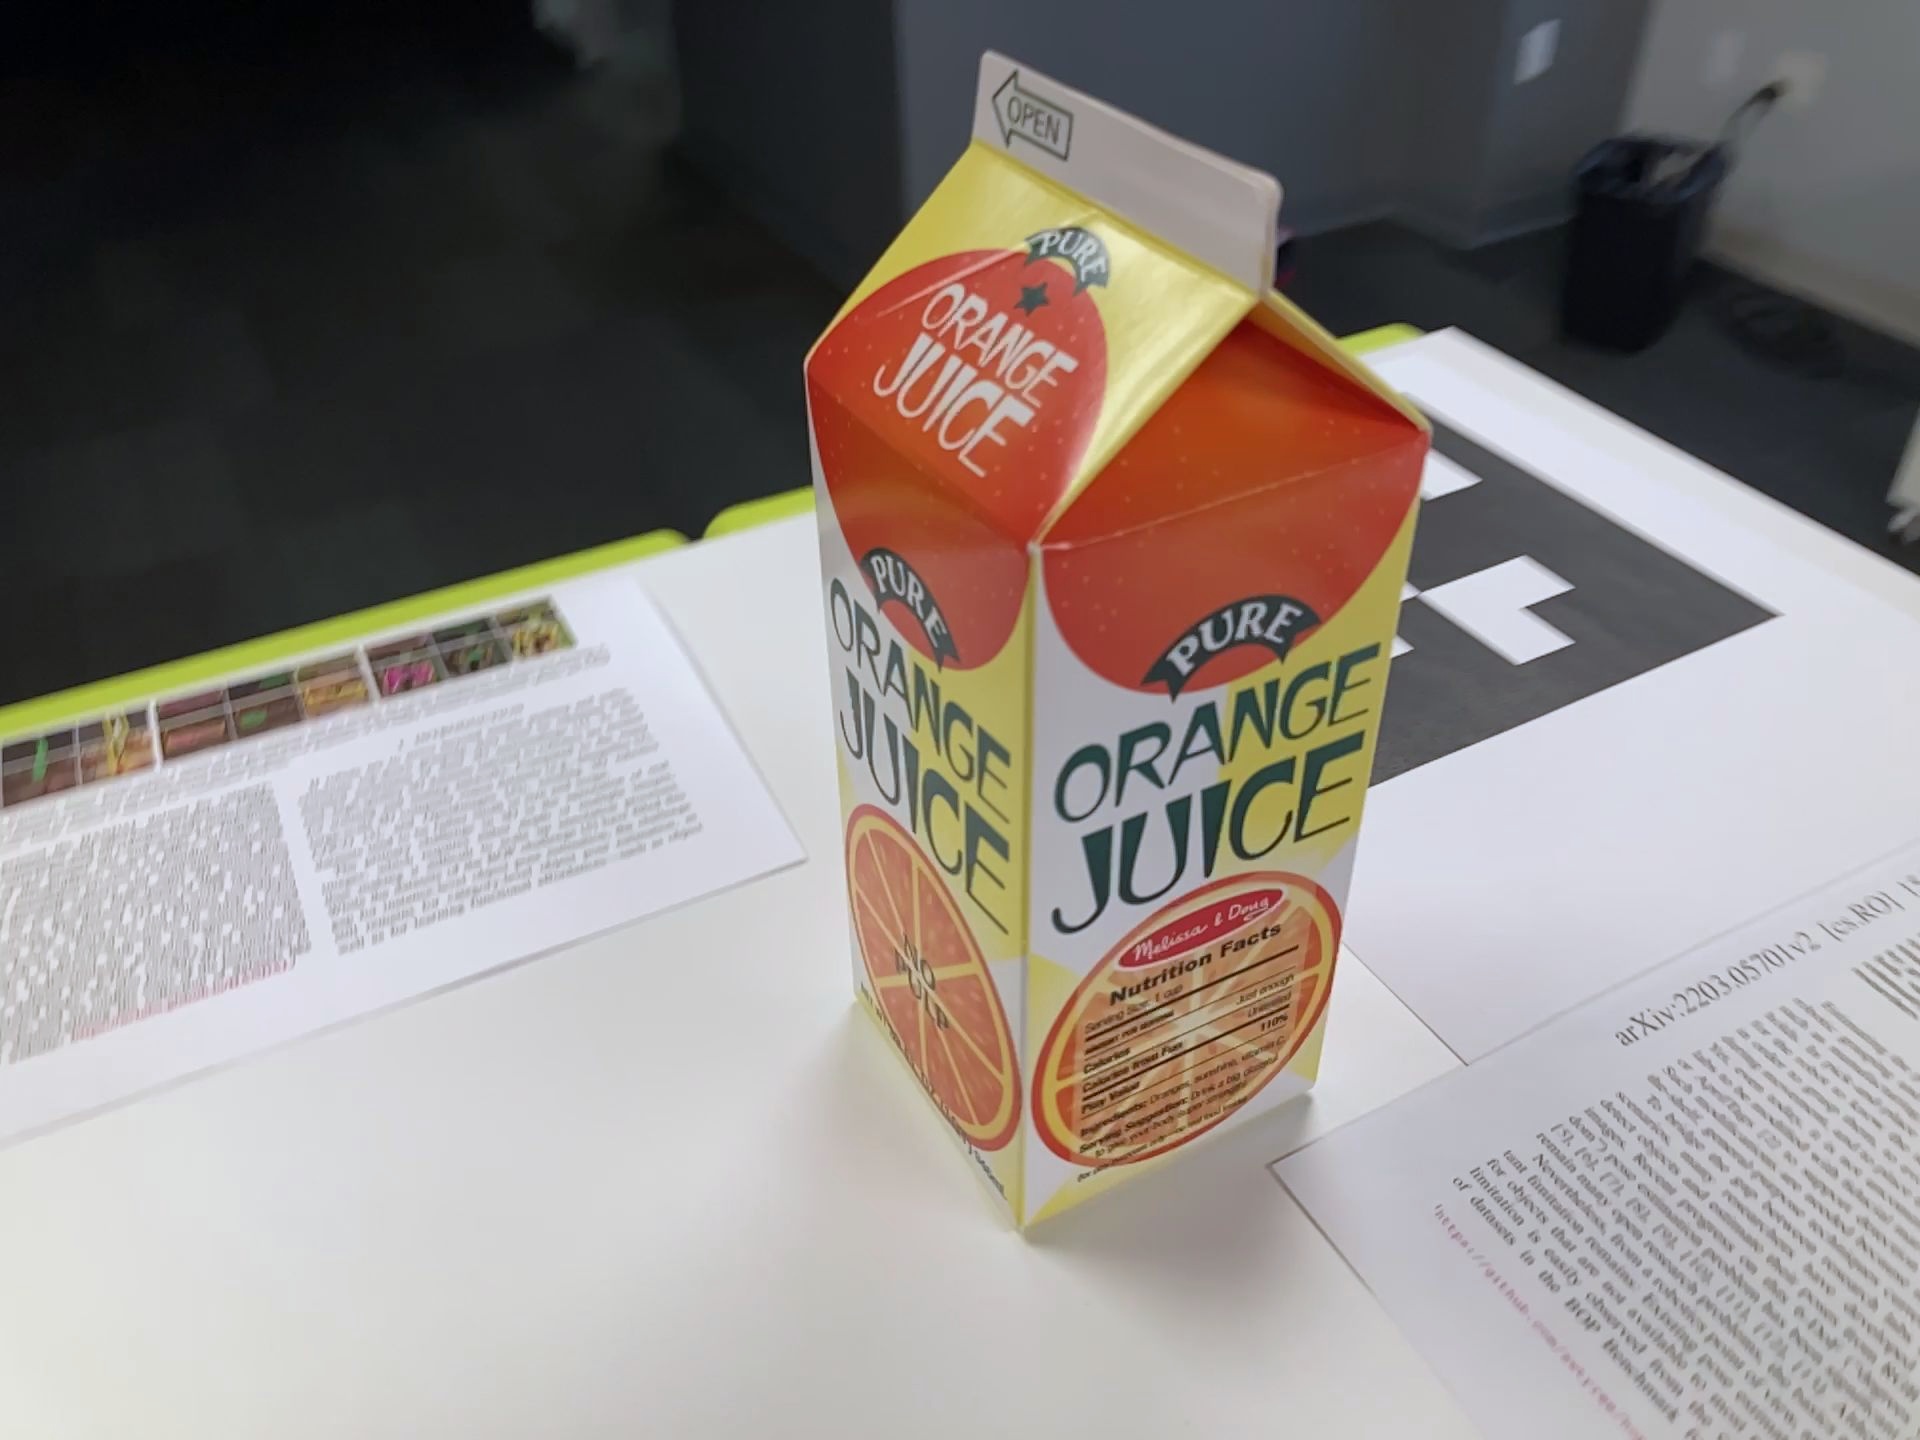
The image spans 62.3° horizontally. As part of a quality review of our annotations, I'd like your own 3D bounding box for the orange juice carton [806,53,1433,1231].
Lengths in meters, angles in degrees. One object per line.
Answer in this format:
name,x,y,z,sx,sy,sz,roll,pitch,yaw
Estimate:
orange juice carton,0.023,-0.008,0.278,0.073,0.192,0.072,-19,40,-23
